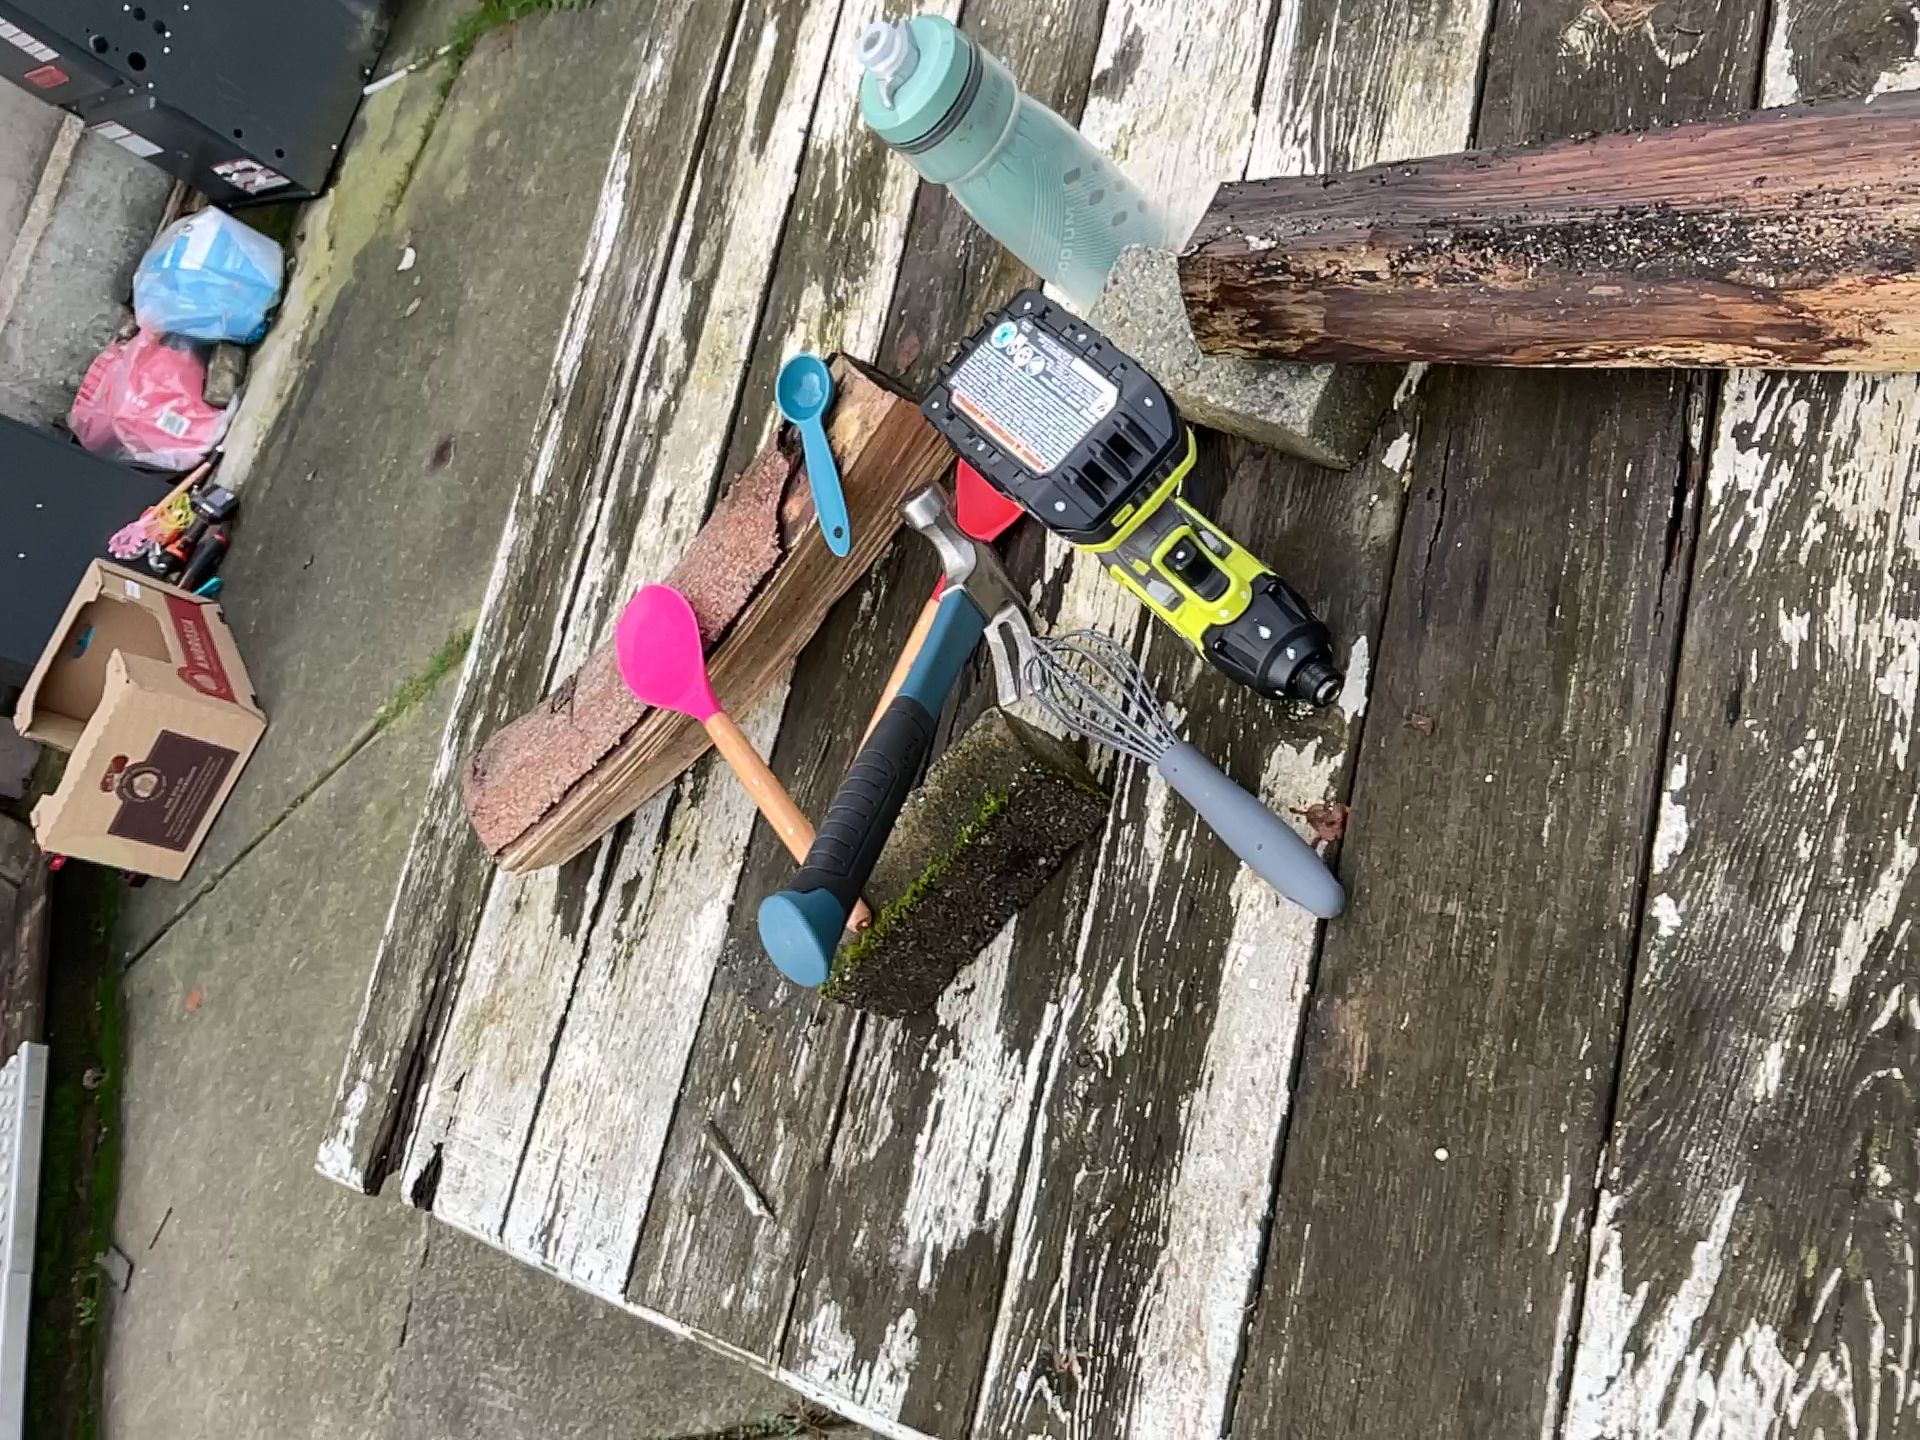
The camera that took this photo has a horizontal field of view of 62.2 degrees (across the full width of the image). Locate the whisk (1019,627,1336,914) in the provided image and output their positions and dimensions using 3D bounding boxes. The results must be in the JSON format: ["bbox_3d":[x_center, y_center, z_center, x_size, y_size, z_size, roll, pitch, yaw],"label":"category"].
[{"bbox_3d":[0.108,0.022,0.825,0.239,0.055,0.055,45,112,40],"label":"whisk"}]

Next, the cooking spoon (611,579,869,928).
[{"bbox_3d":[-0.138,0.015,0.958,0.069,0.017,0.319,-51,51,12],"label":"cooking spoon"}]

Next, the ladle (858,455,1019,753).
[{"bbox_3d":[-0.023,-0.051,0.996,0.069,0.031,0.315,25,92,43],"label":"ladle"}]

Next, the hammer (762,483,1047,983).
[{"bbox_3d":[-0.030,0.005,0.839,0.033,0.128,0.331,-26,25,34],"label":"hammer"}]

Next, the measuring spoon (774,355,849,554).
[{"bbox_3d":[-0.084,-0.164,0.991,0.042,0.021,0.129,-19,82,35],"label":"measuring spoon"}]

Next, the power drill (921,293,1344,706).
[{"bbox_3d":[0.094,-0.094,0.773,0.080,0.222,0.171,-48,48,6],"label":"power drill"}]
